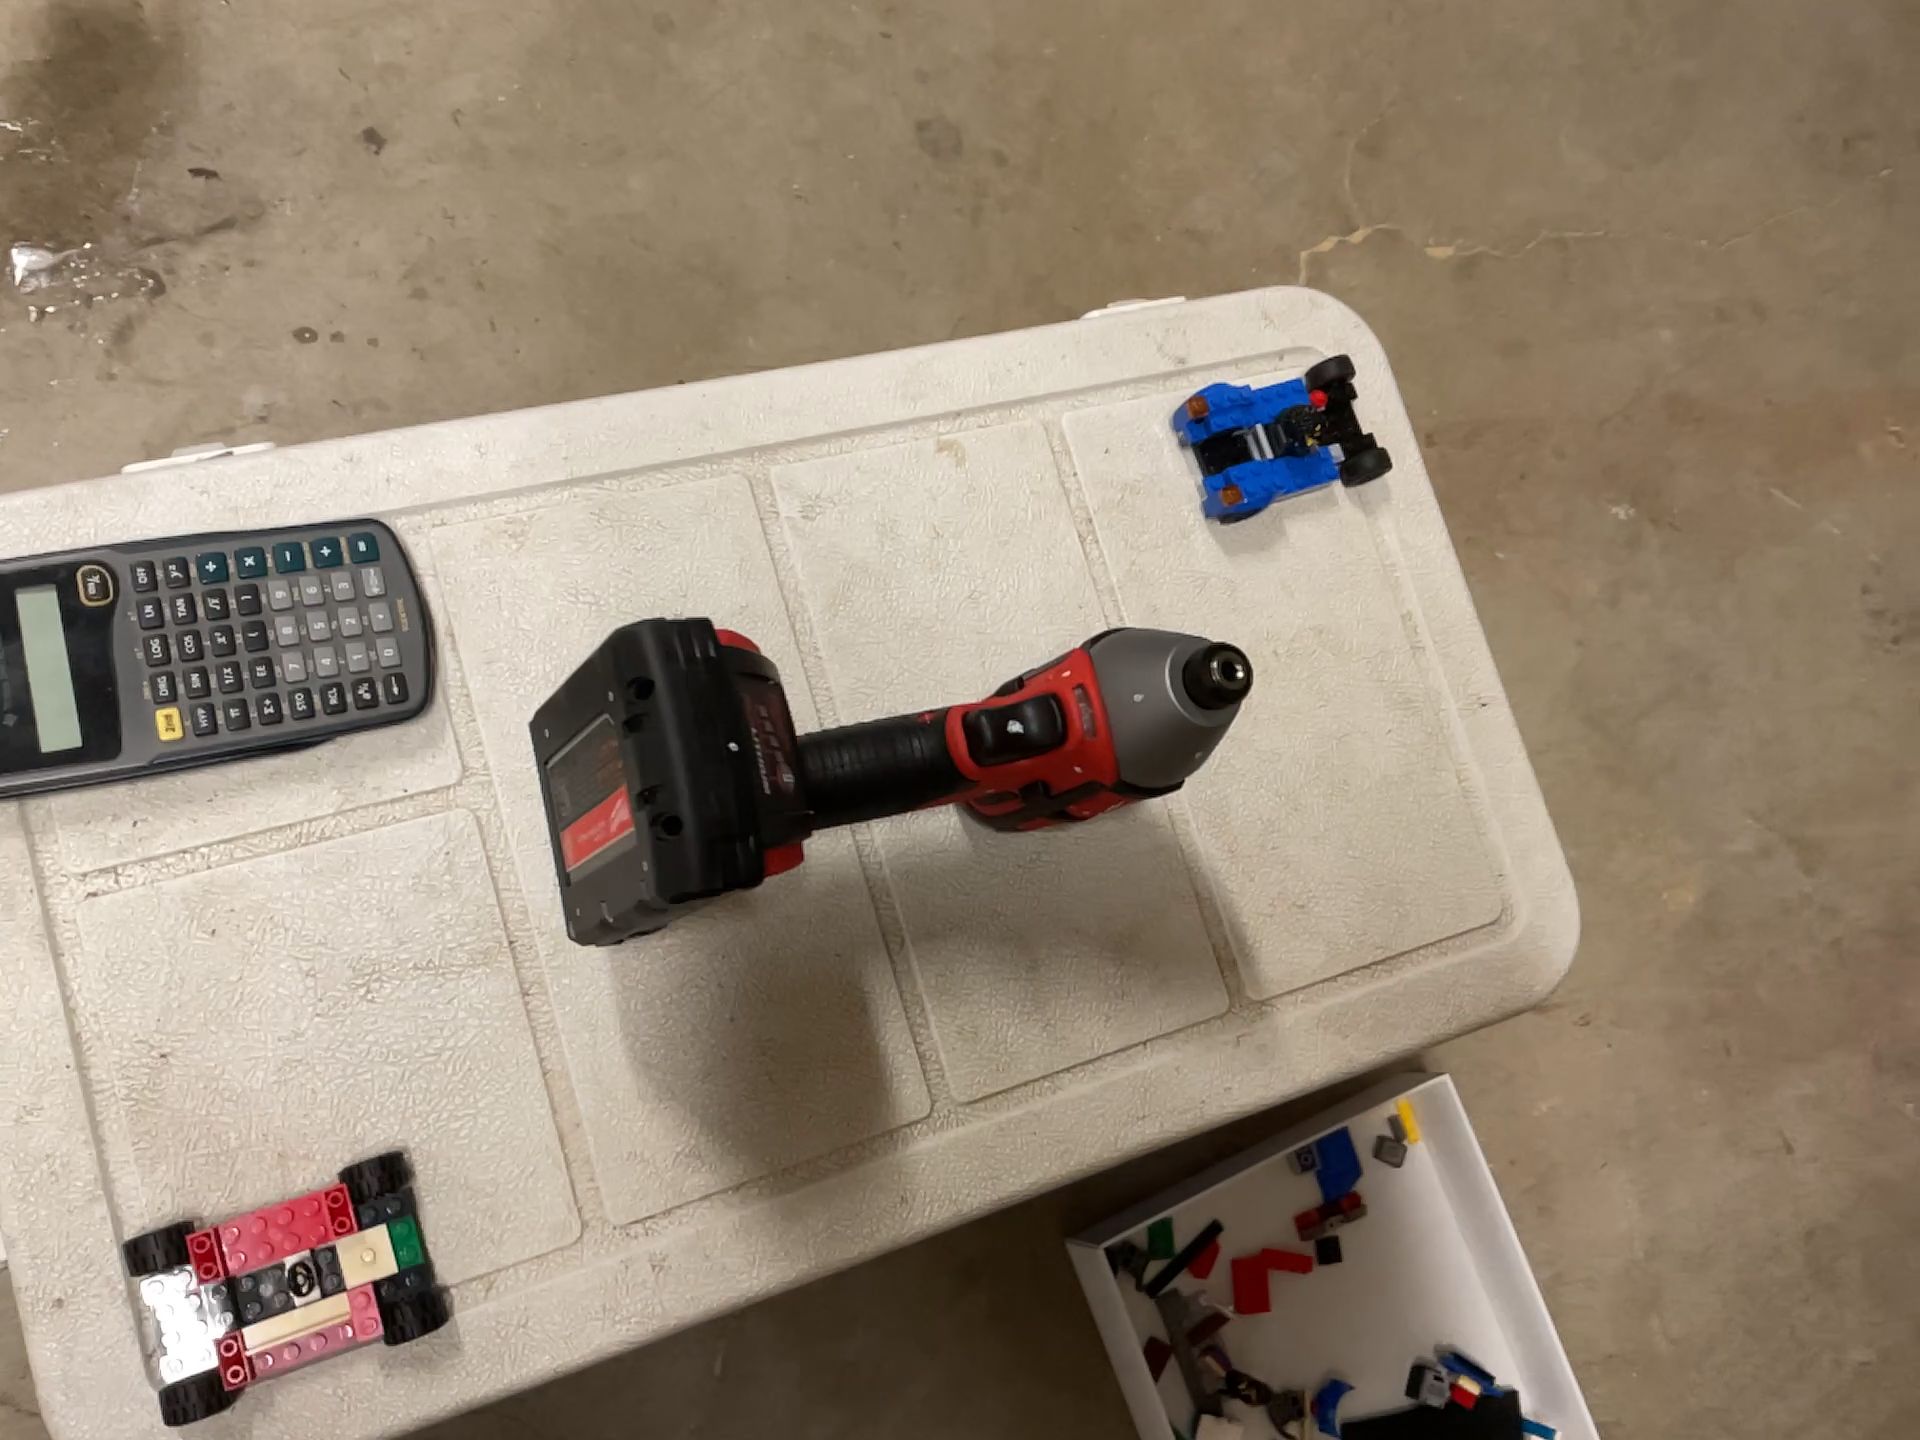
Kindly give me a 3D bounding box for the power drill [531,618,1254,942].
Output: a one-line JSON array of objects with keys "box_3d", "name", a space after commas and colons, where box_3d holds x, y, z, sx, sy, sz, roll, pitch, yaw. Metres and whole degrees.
[{"box_3d": [-0.015, 0.010, 0.527, 0.220, 0.143, 0.078, -7, 79, -33], "name": "power drill"}]
